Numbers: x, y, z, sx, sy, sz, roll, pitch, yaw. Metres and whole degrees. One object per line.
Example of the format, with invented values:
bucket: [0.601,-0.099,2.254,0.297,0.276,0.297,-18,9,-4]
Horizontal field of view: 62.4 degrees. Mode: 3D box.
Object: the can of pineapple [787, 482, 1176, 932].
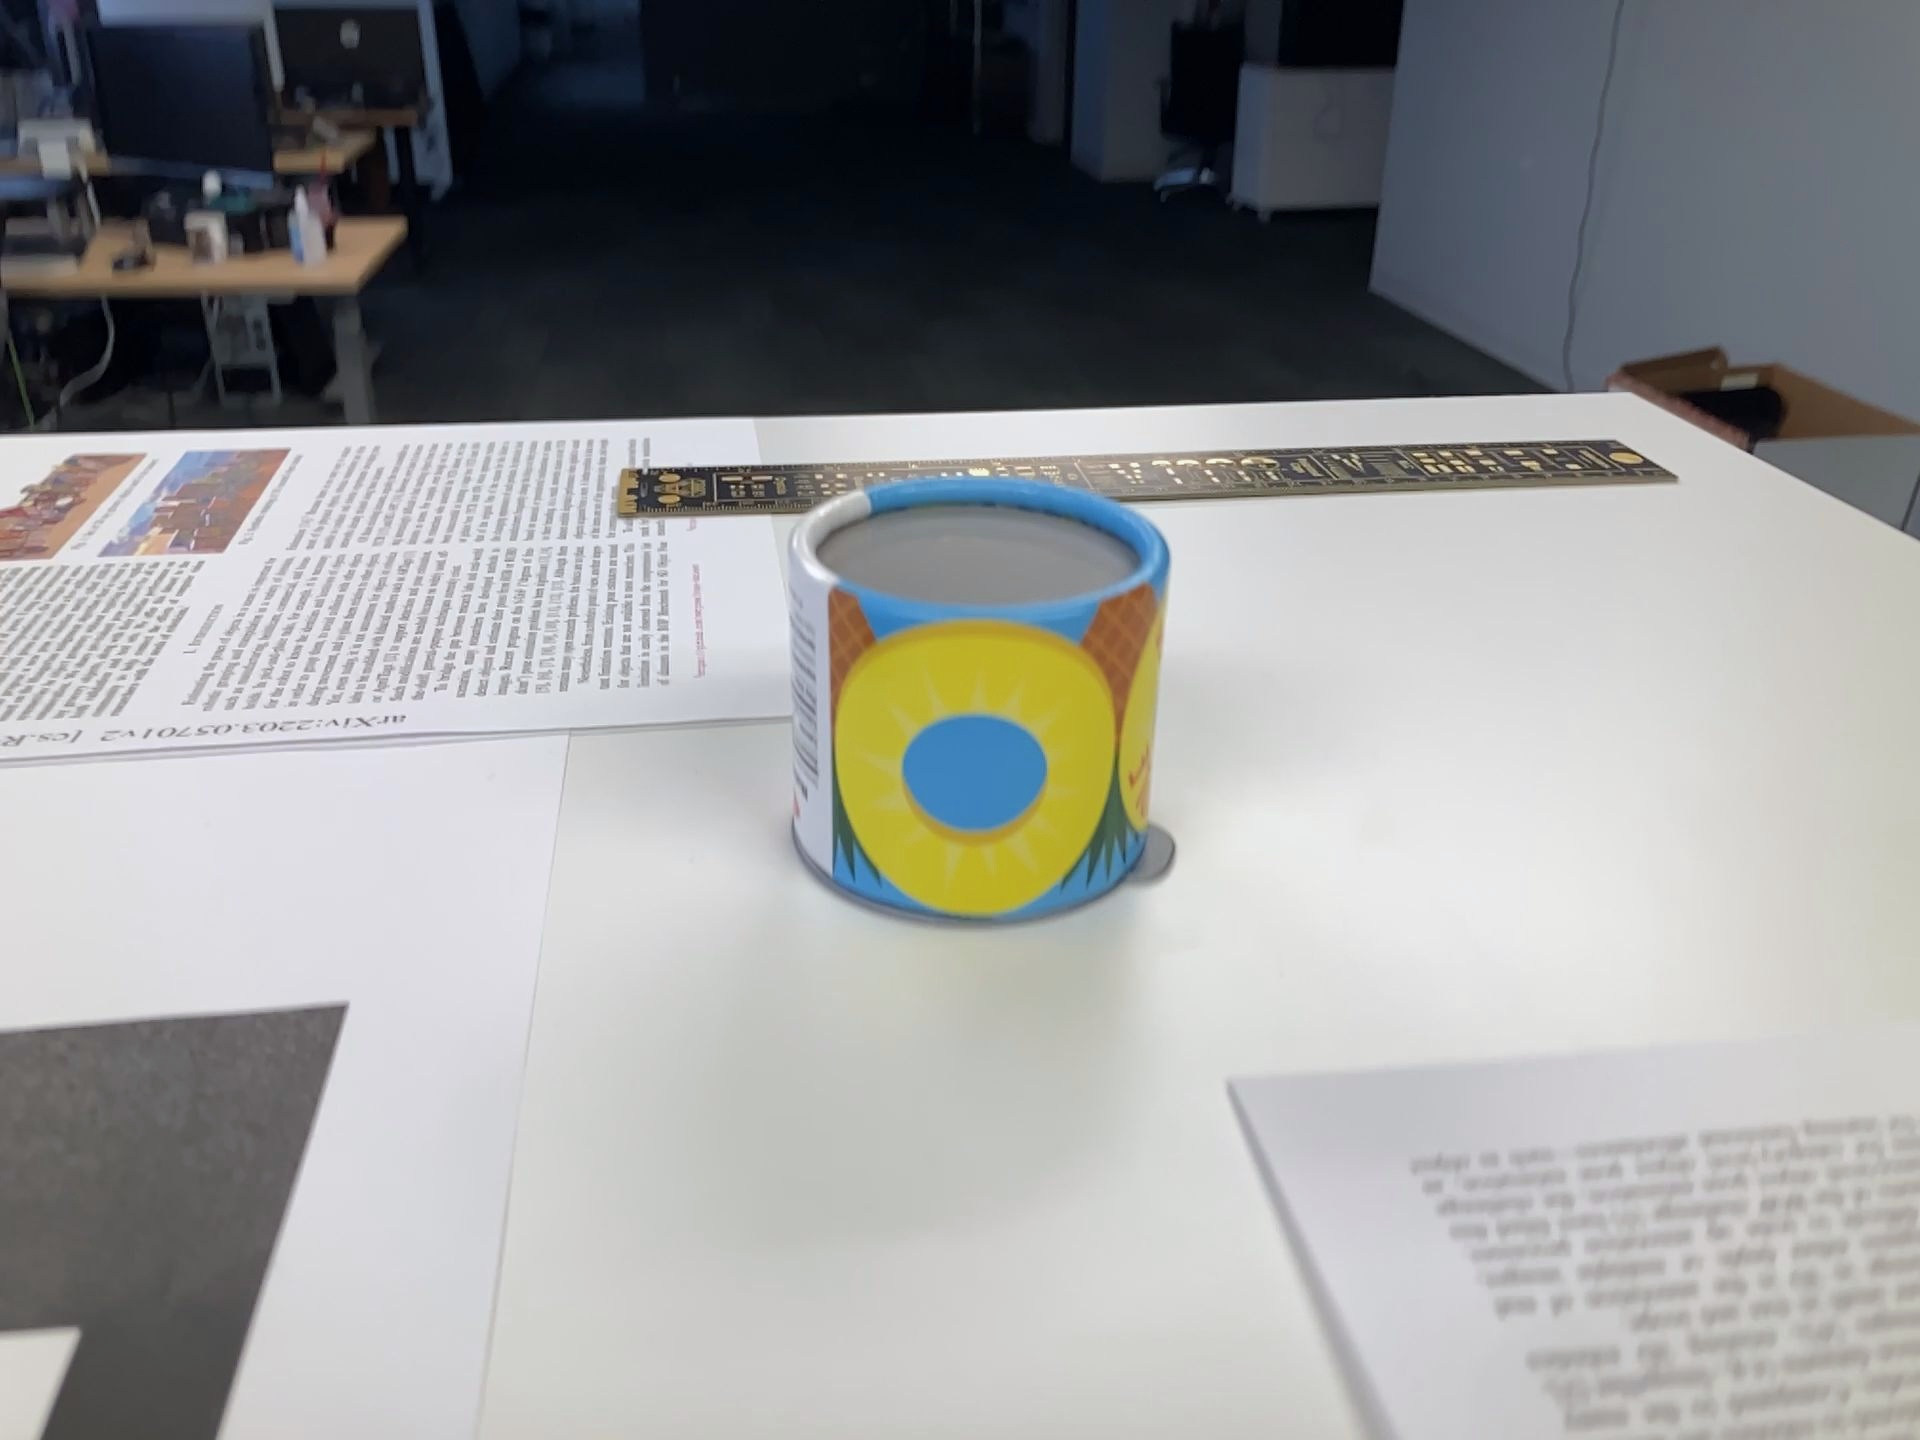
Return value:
can of pineapple: [0.004,-0.005,0.282,0.071,0.058,0.071,1,27,-1]
